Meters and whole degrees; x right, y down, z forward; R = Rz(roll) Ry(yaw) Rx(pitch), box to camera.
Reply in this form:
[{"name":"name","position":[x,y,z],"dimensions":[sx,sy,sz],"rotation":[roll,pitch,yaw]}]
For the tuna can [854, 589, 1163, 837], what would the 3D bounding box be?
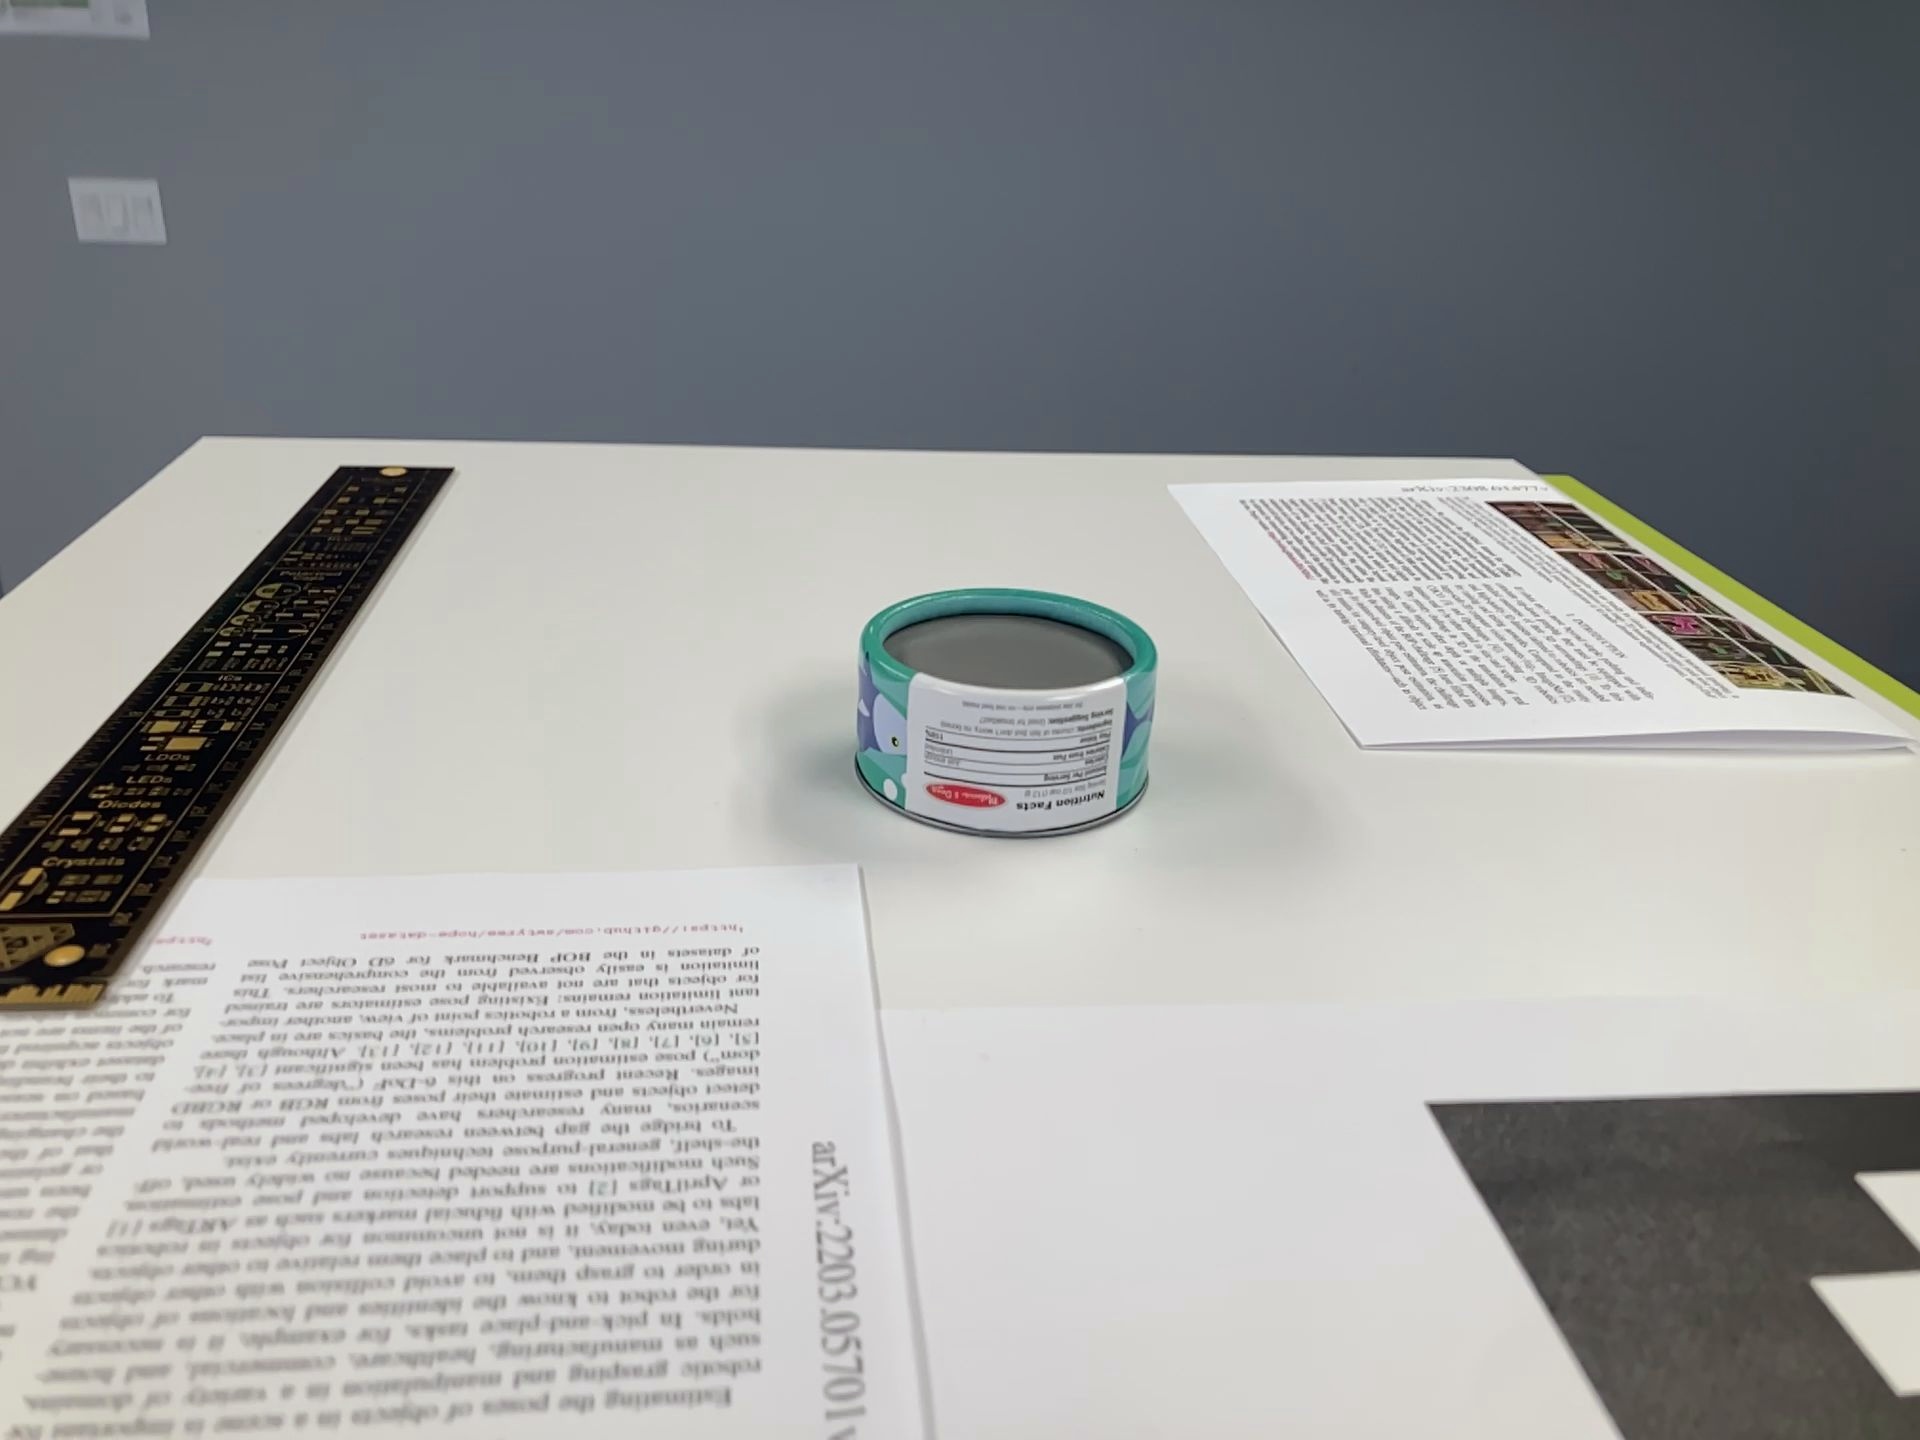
[{"name":"tuna can","position":[0.010,-0.005,0.351],"dimensions":[0.071,0.033,0.071],"rotation":[4,23,-2]}]
